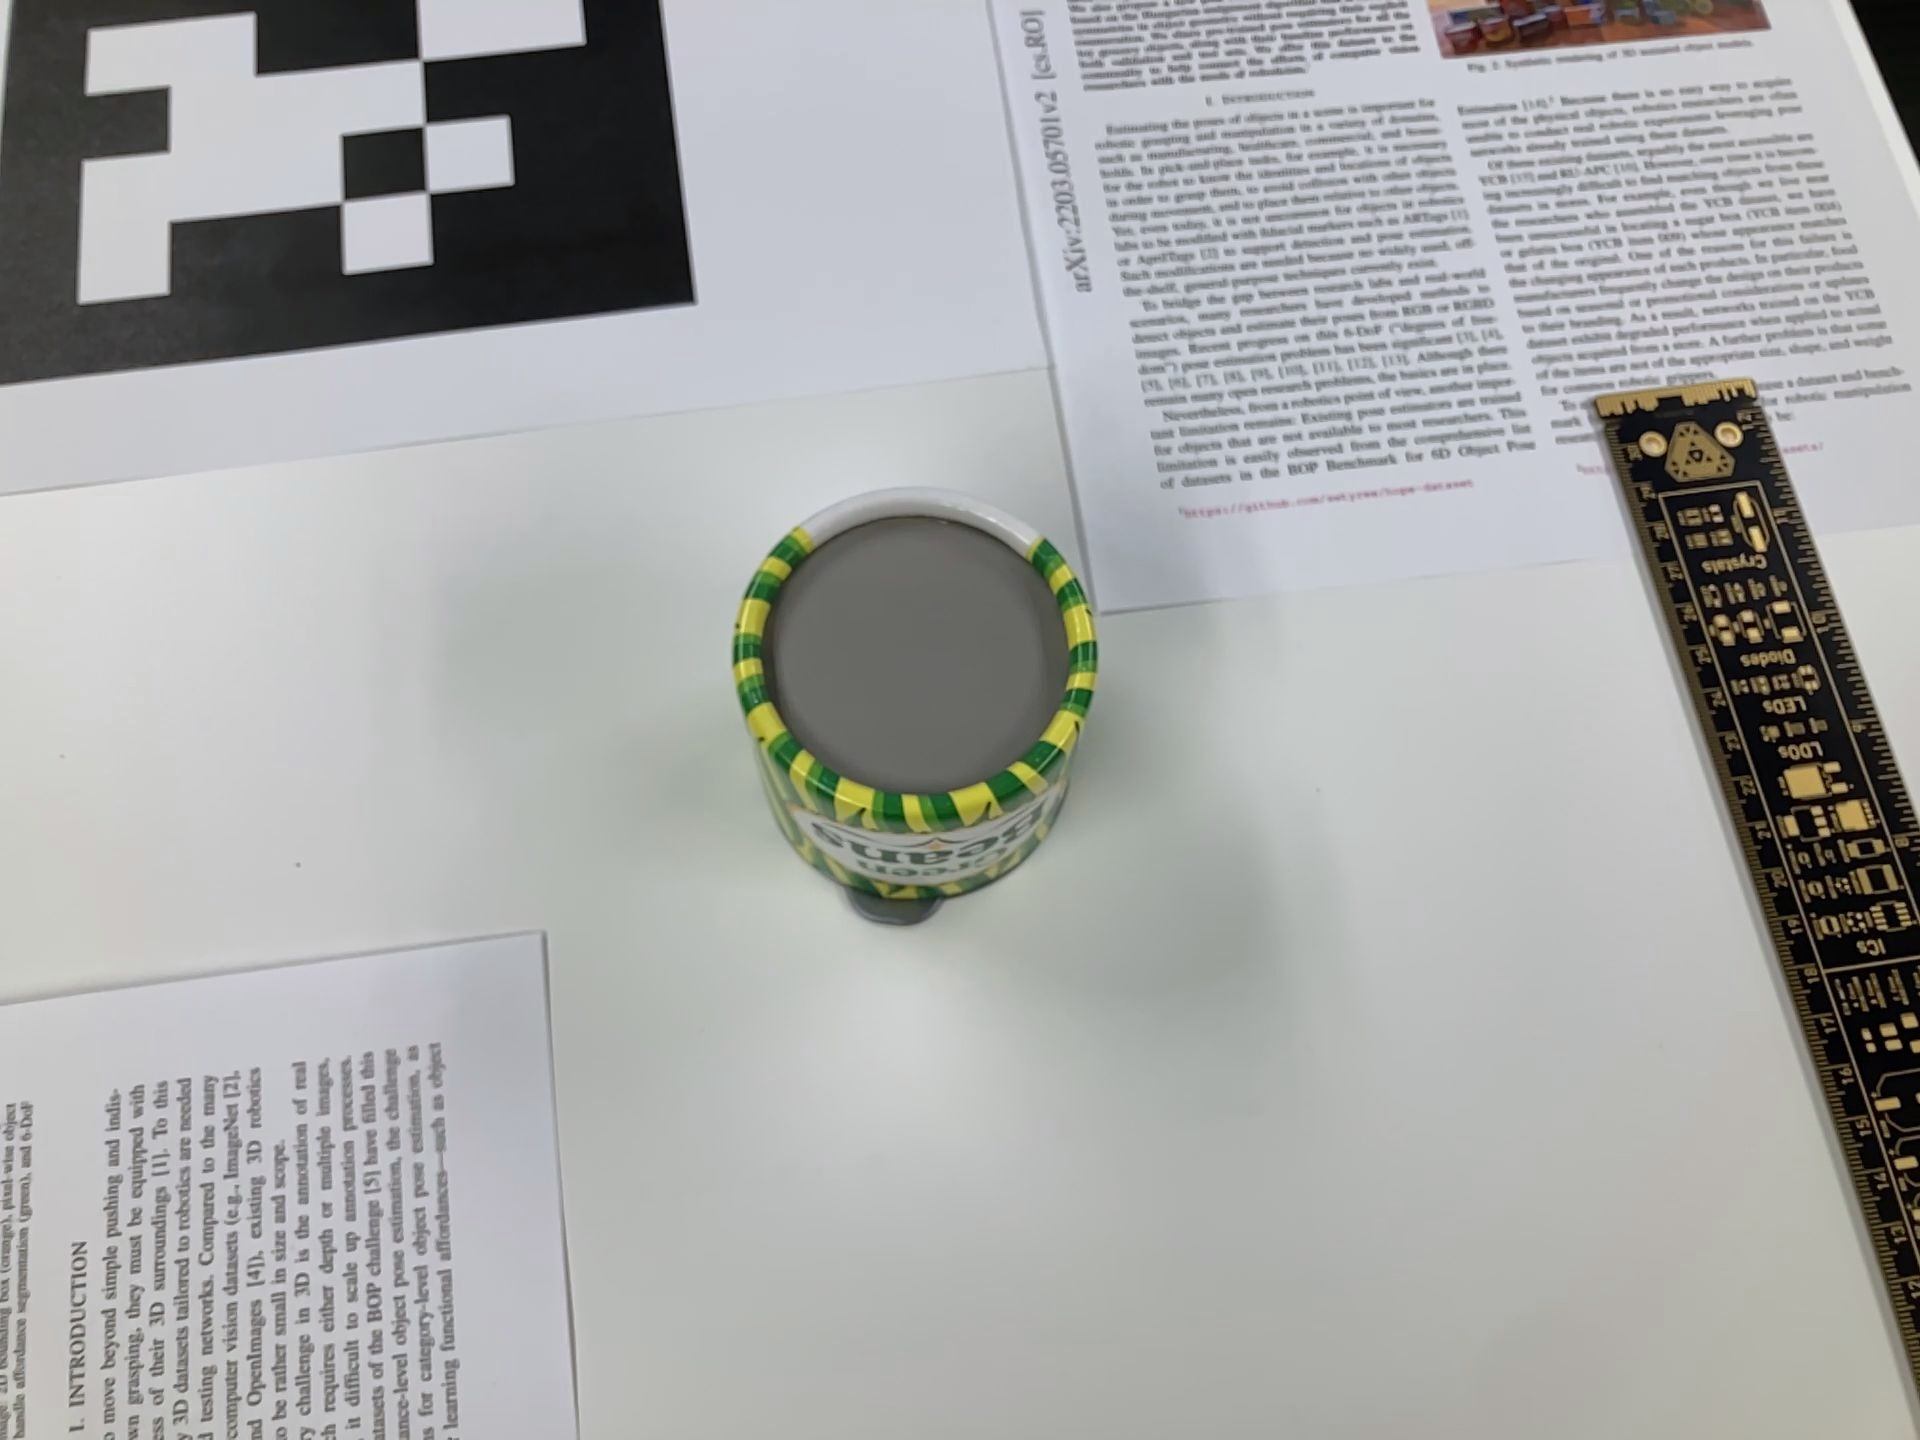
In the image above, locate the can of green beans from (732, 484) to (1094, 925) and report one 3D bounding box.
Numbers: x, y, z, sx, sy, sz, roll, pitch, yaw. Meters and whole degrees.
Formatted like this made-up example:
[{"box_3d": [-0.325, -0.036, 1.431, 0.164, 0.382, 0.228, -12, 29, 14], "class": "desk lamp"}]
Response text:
[{"box_3d": [-0.009, -0.004, 0.313, 0.071, 0.058, 0.071, 1, 69, -2], "class": "can of green beans"}]
